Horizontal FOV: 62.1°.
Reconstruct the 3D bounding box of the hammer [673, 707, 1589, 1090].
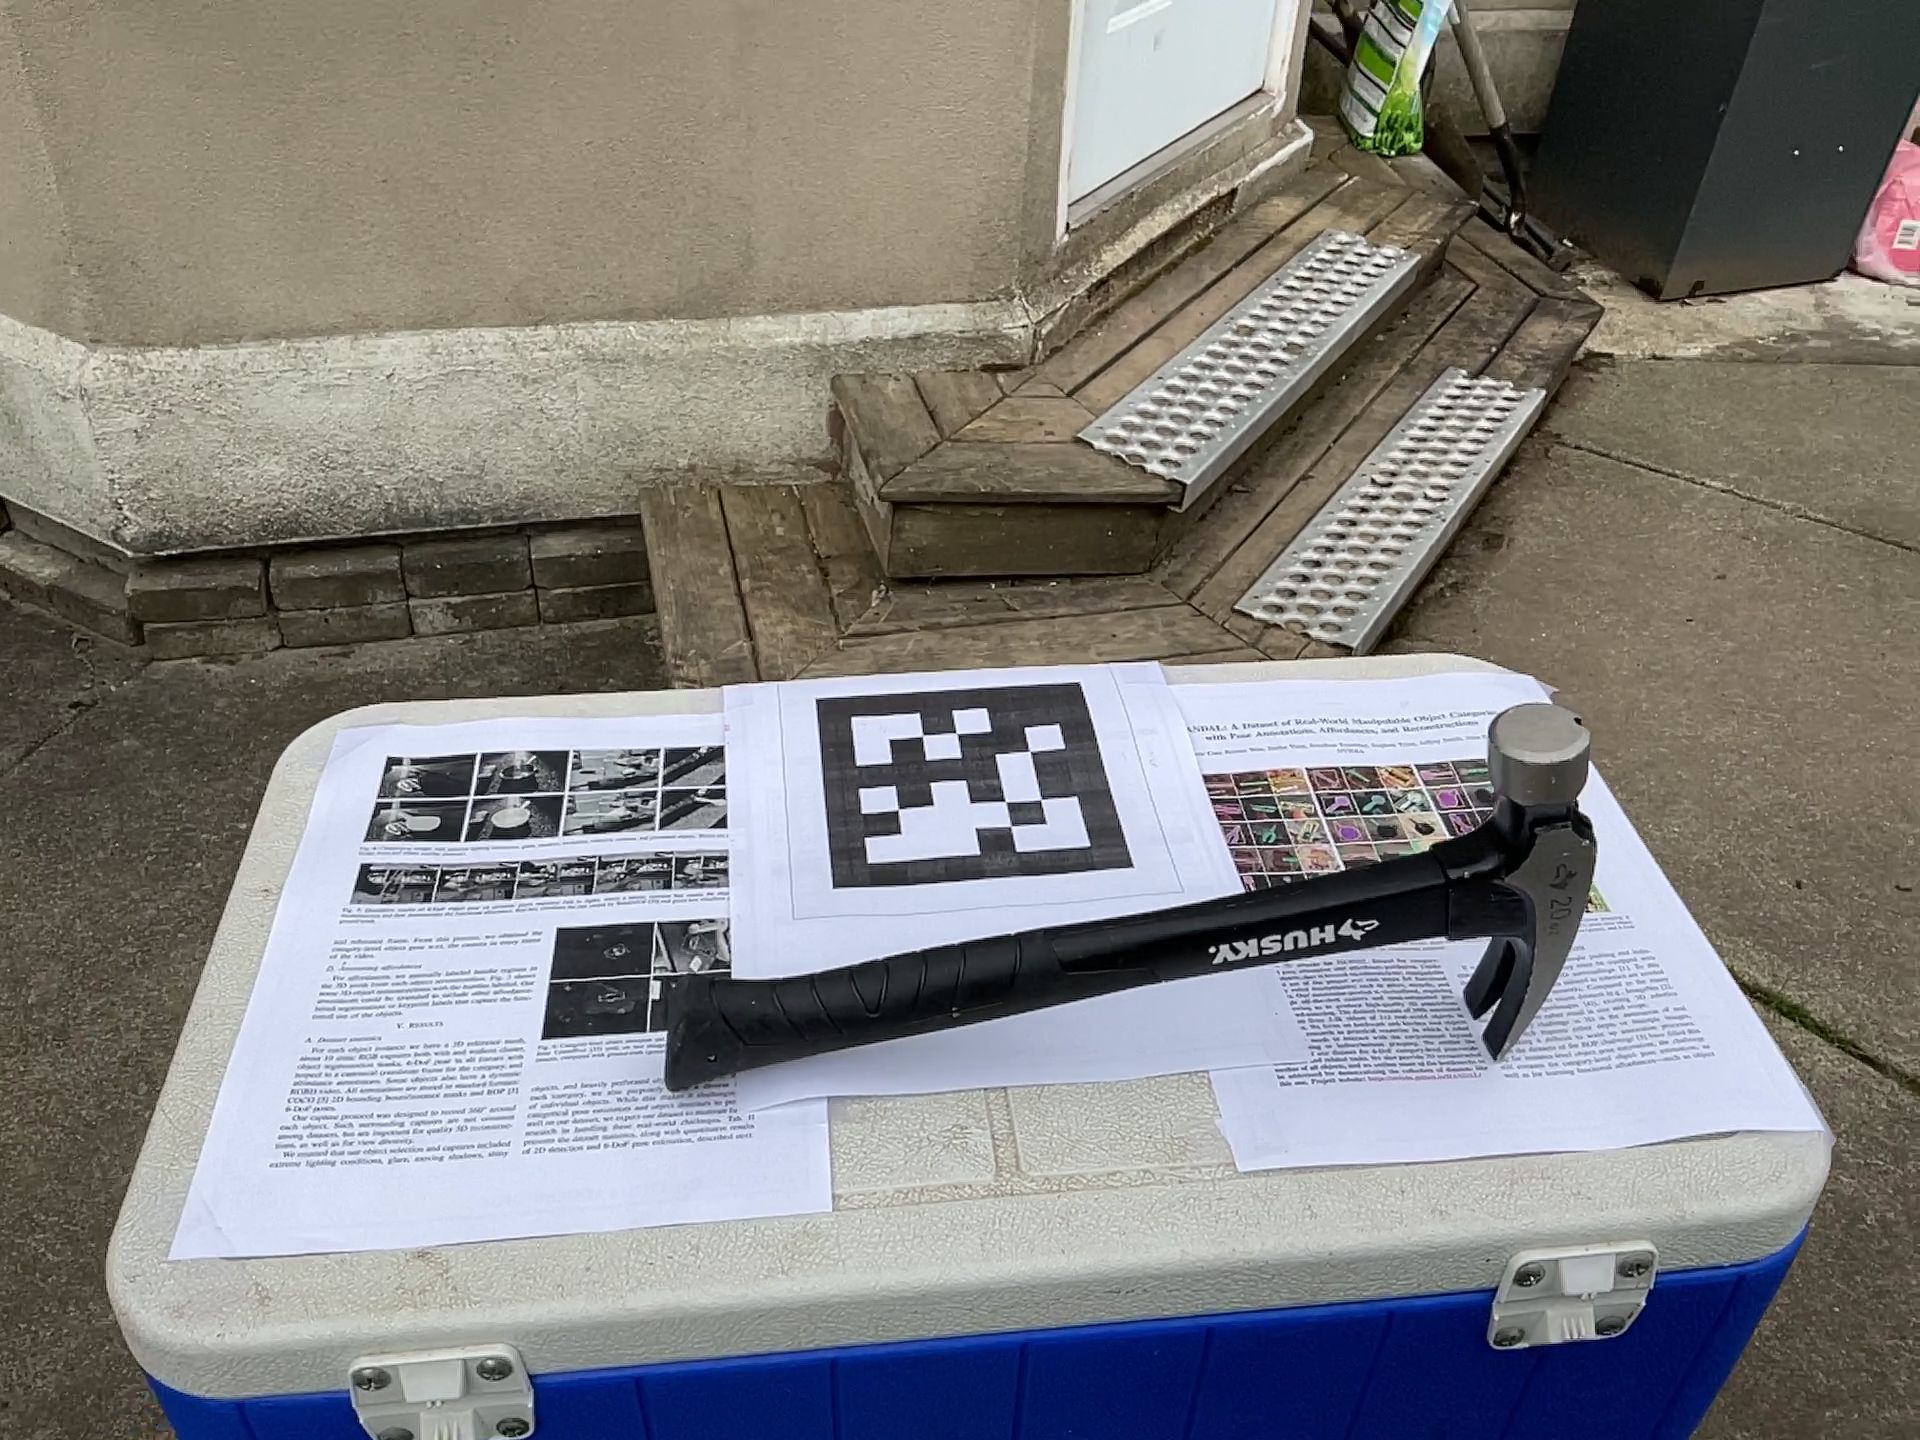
[{"bbox_3d":[0.057,0.090,0.583,0.335,0.146,0.035,-11,37,2],"label":"hammer"}]
